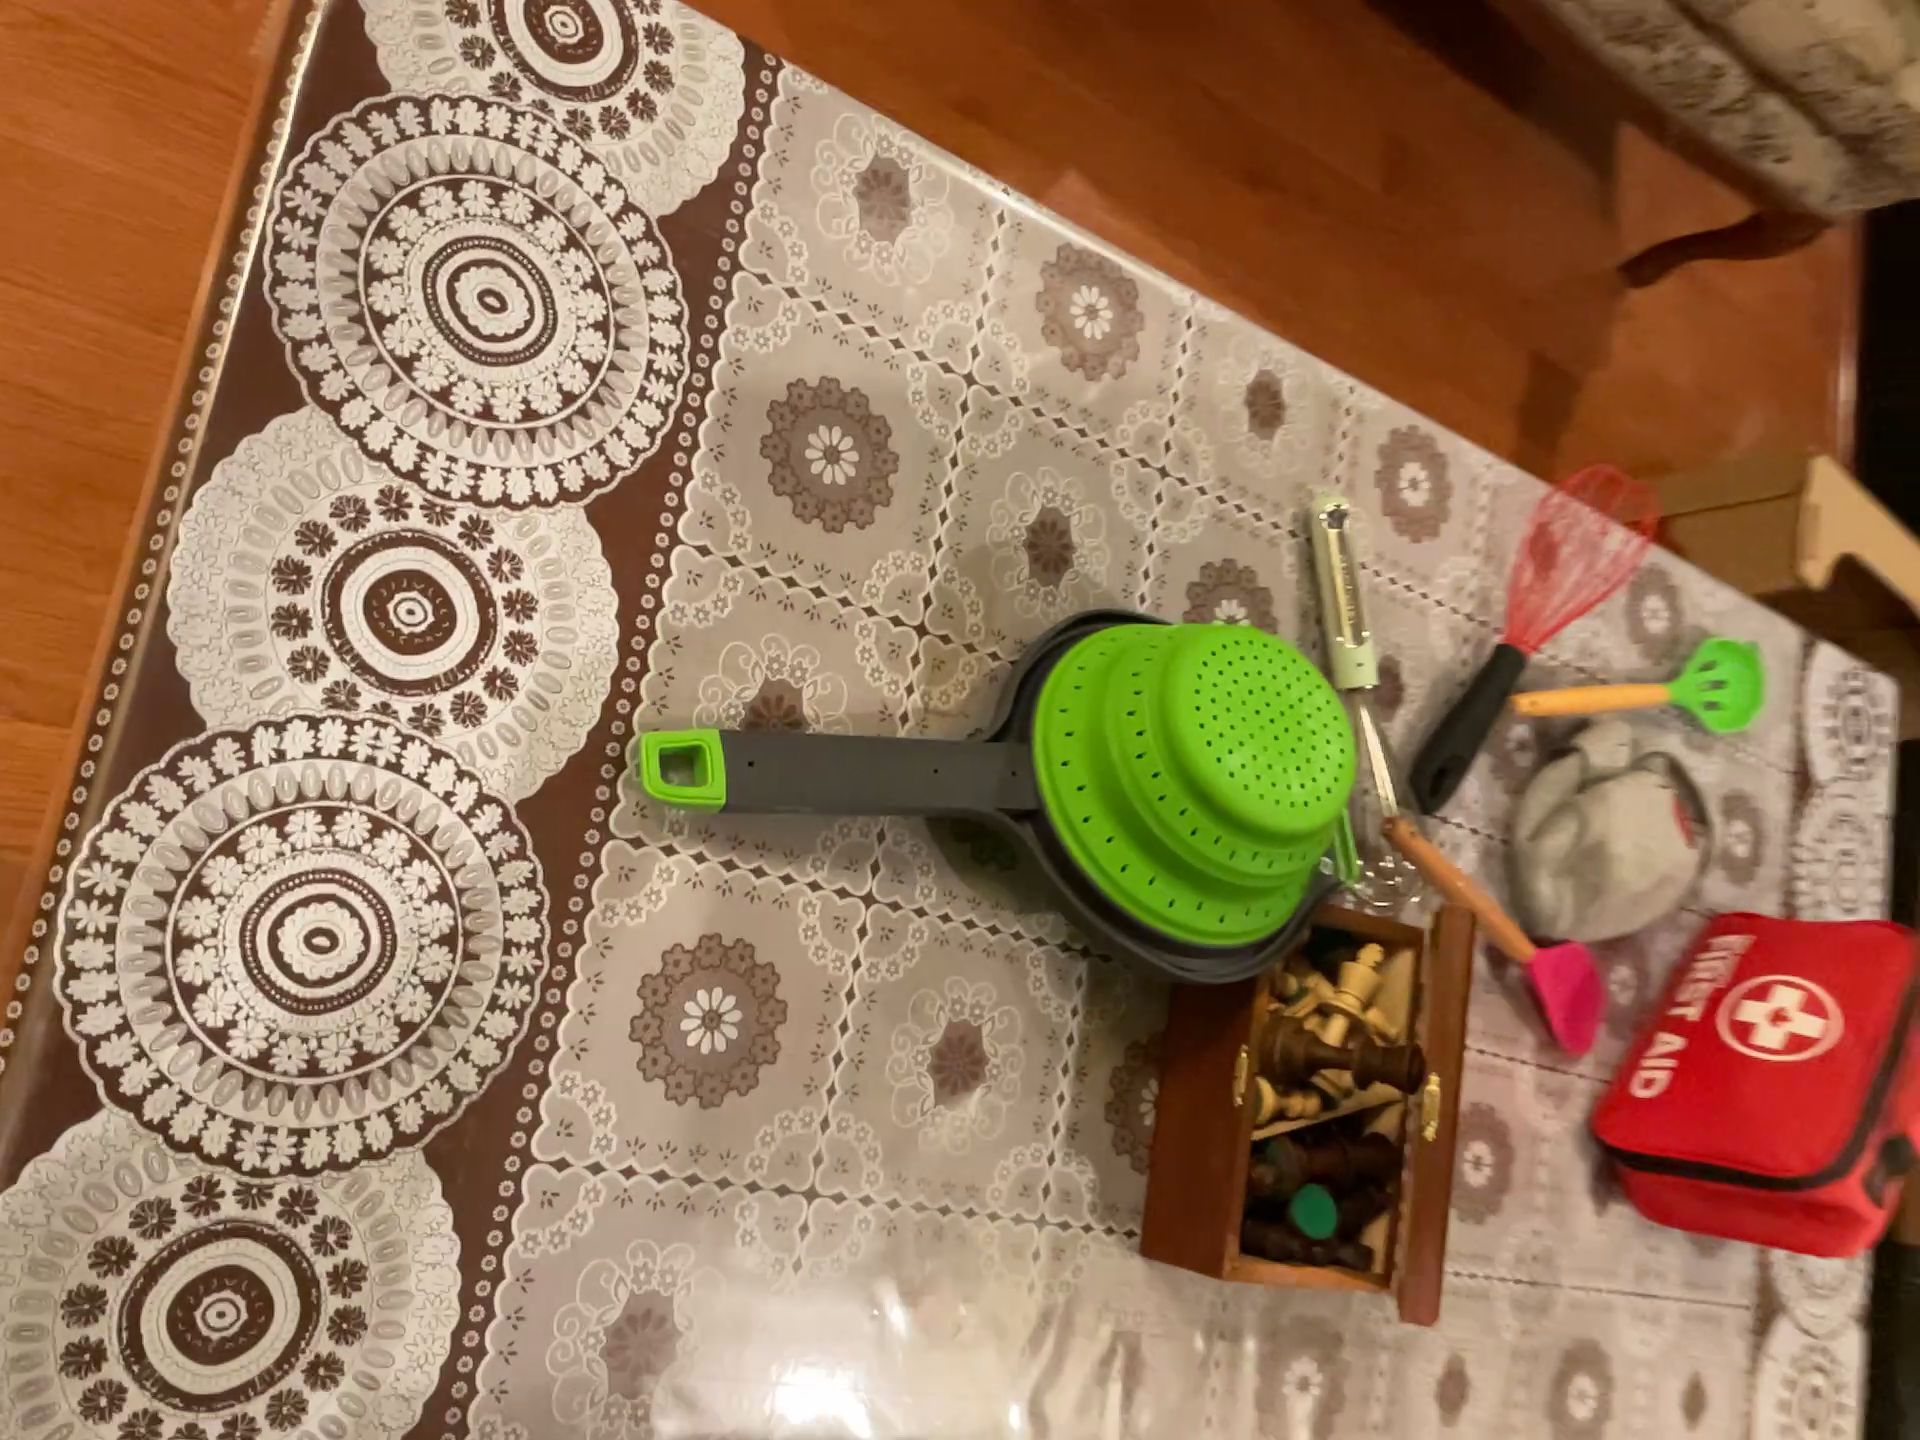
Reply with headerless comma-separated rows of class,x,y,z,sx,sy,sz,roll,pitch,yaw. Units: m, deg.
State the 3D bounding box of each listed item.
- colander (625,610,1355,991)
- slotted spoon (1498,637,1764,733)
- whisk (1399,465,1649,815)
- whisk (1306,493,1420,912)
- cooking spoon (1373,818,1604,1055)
colander,0.049,0.016,0.735,0.397,0.094,0.205,4,64,-29
slotted spoon,0.461,-0.018,1.087,0.313,0.031,0.070,-4,89,-39
whisk,0.359,-0.054,1.015,0.296,0.073,0.073,-51,121,-20
whisk,0.227,-0.011,0.928,0.058,0.059,0.246,4,79,-77
cooking spoon,0.328,0.130,0.964,0.318,0.017,0.069,36,64,-40
